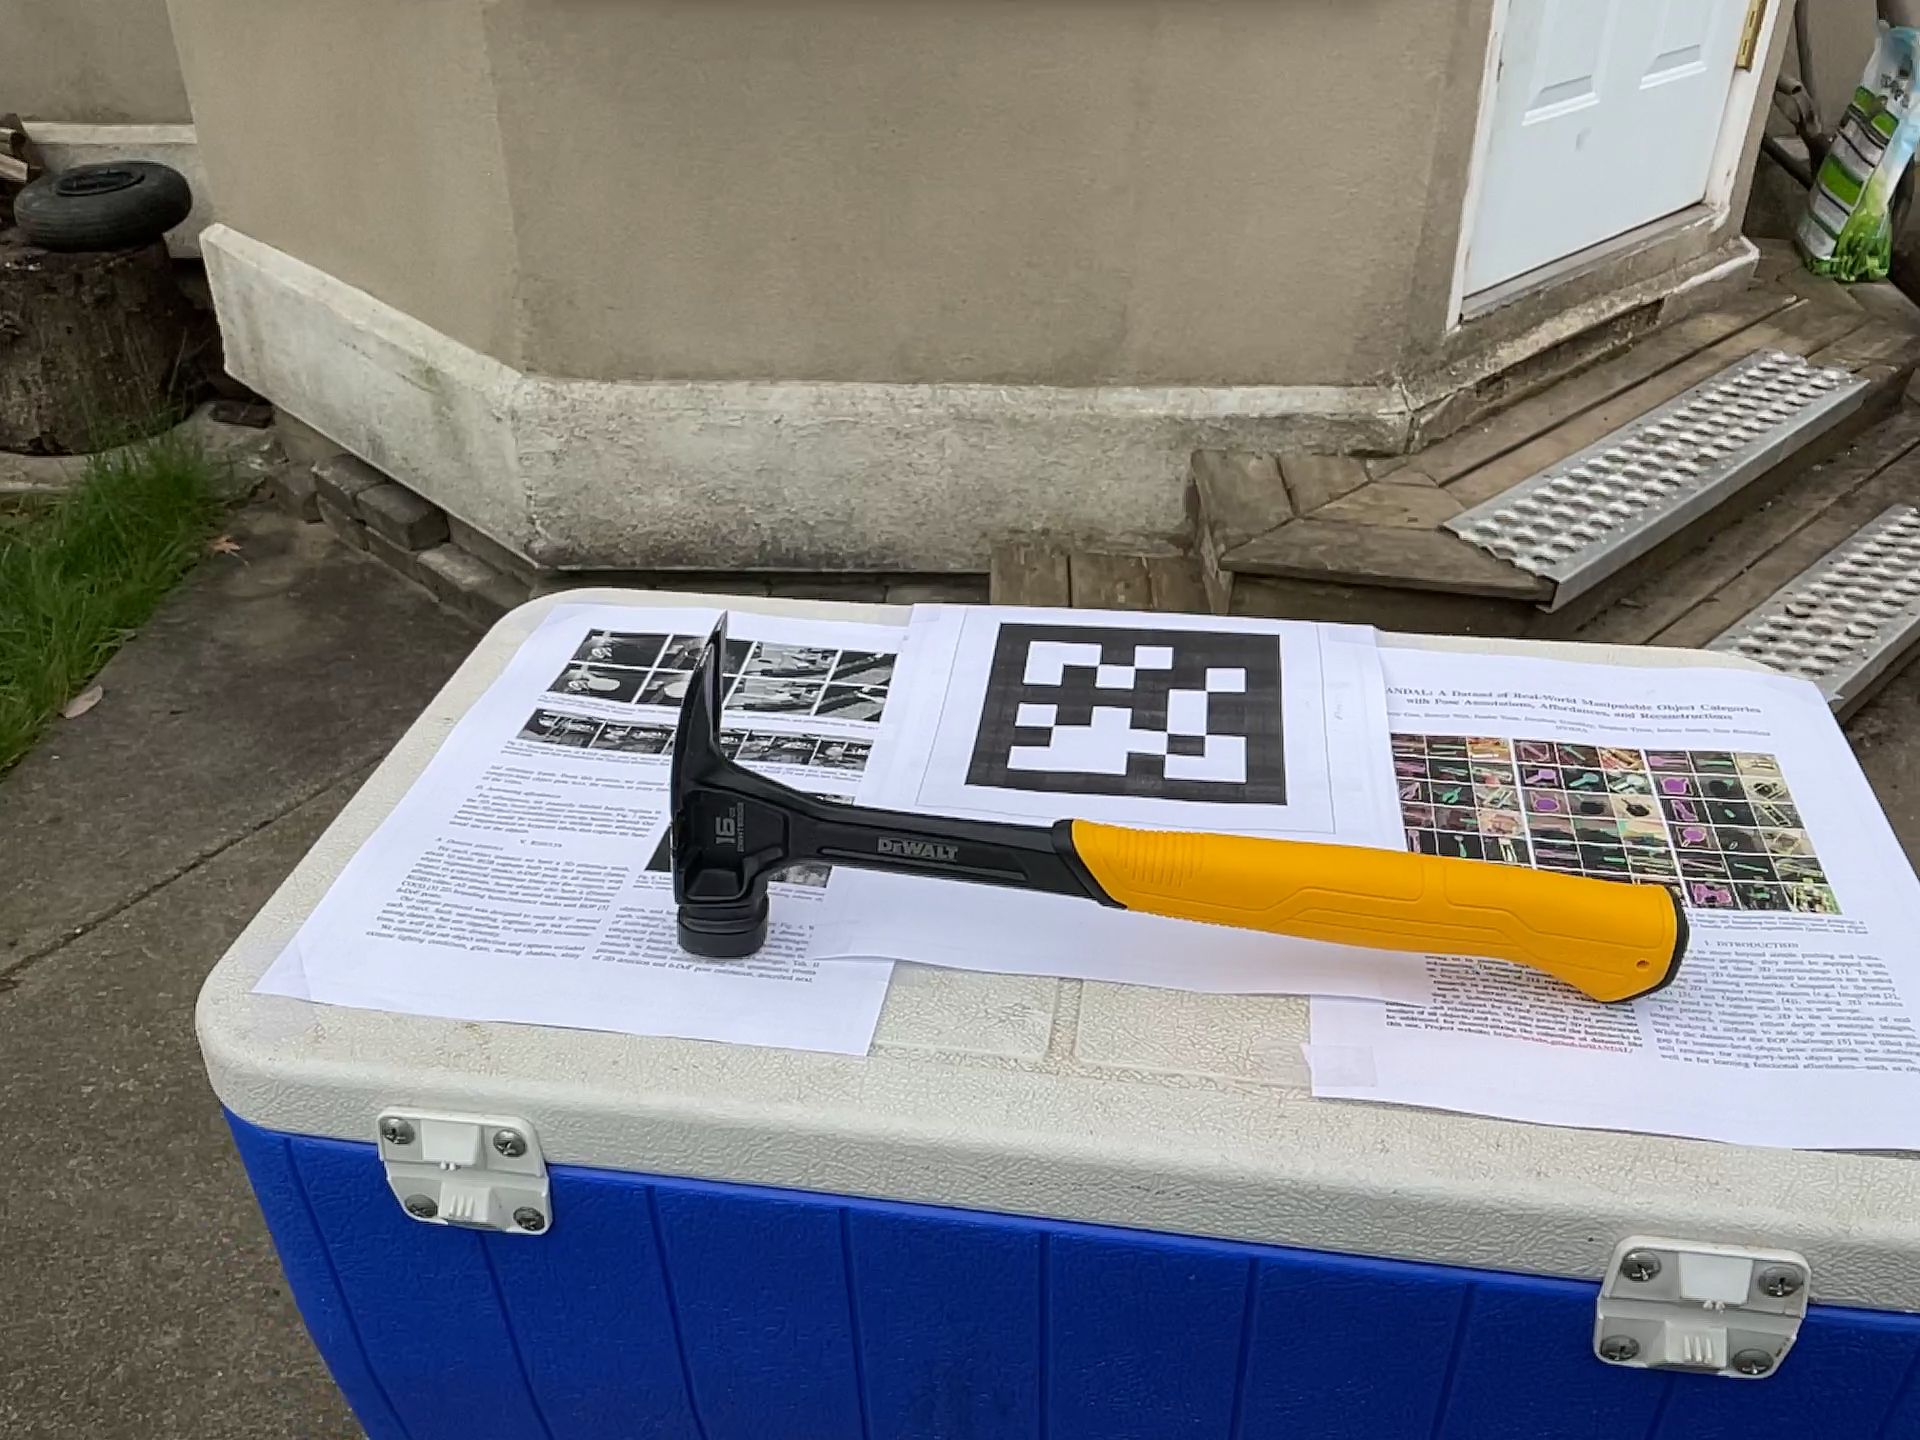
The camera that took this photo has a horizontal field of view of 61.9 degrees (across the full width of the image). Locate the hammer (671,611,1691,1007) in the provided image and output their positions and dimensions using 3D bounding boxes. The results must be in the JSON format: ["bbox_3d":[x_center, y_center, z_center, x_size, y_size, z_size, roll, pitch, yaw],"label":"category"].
[{"bbox_3d":[0.071,0.046,0.531,0.337,0.127,0.034,7,33,3],"label":"hammer"}]
